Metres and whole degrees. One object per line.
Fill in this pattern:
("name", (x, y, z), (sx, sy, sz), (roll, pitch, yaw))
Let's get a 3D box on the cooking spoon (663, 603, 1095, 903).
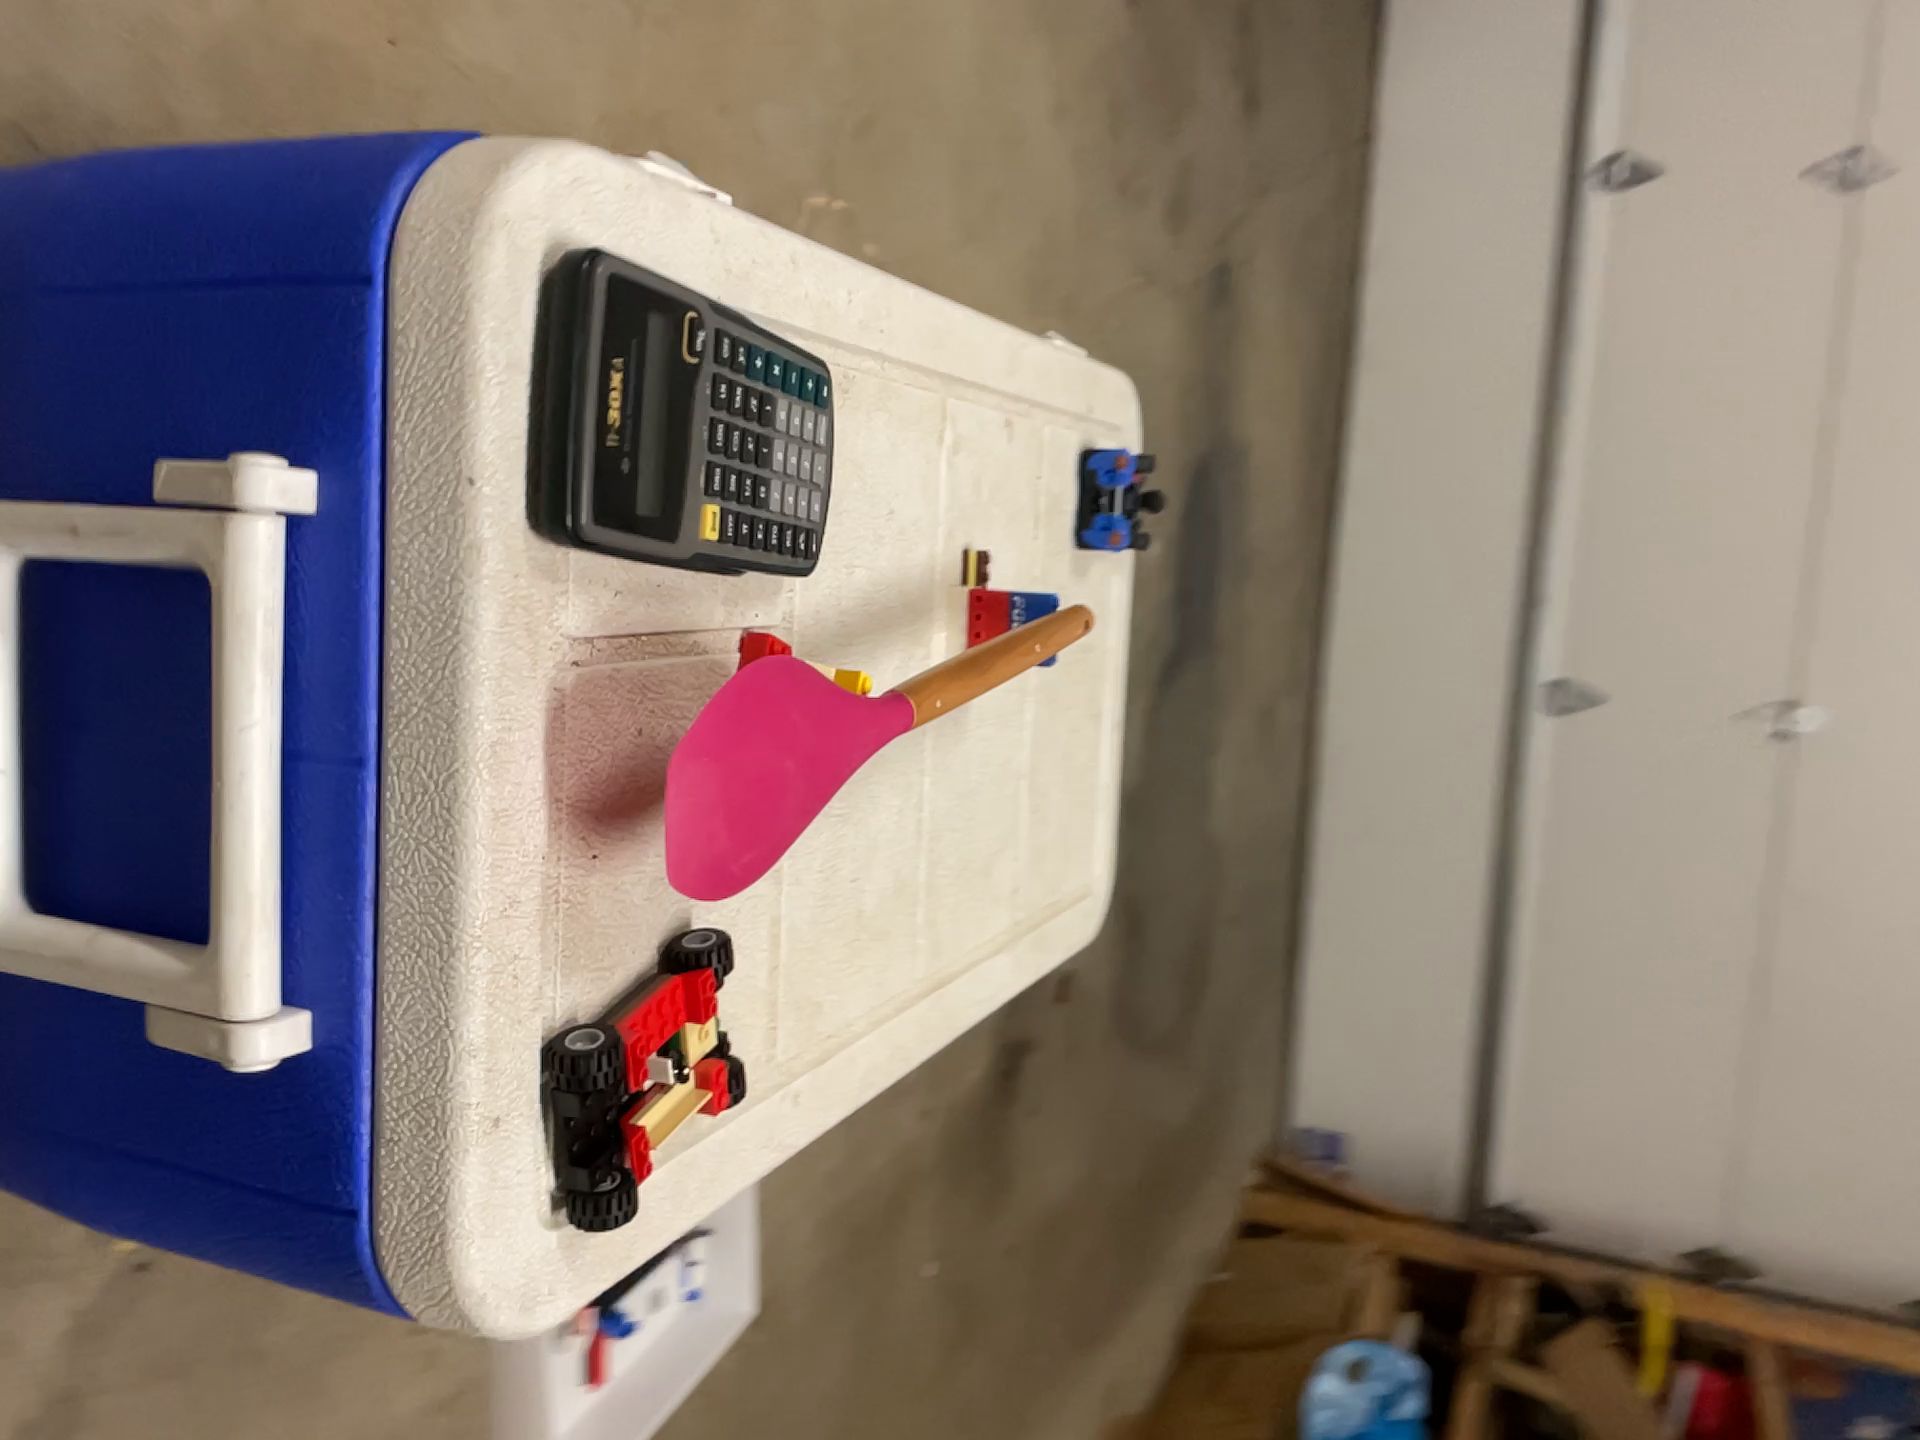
("cooking spoon", (-0.011, -0.009, 0.555), (0.319, 0.017, 0.068), (-30, 127, -63))
